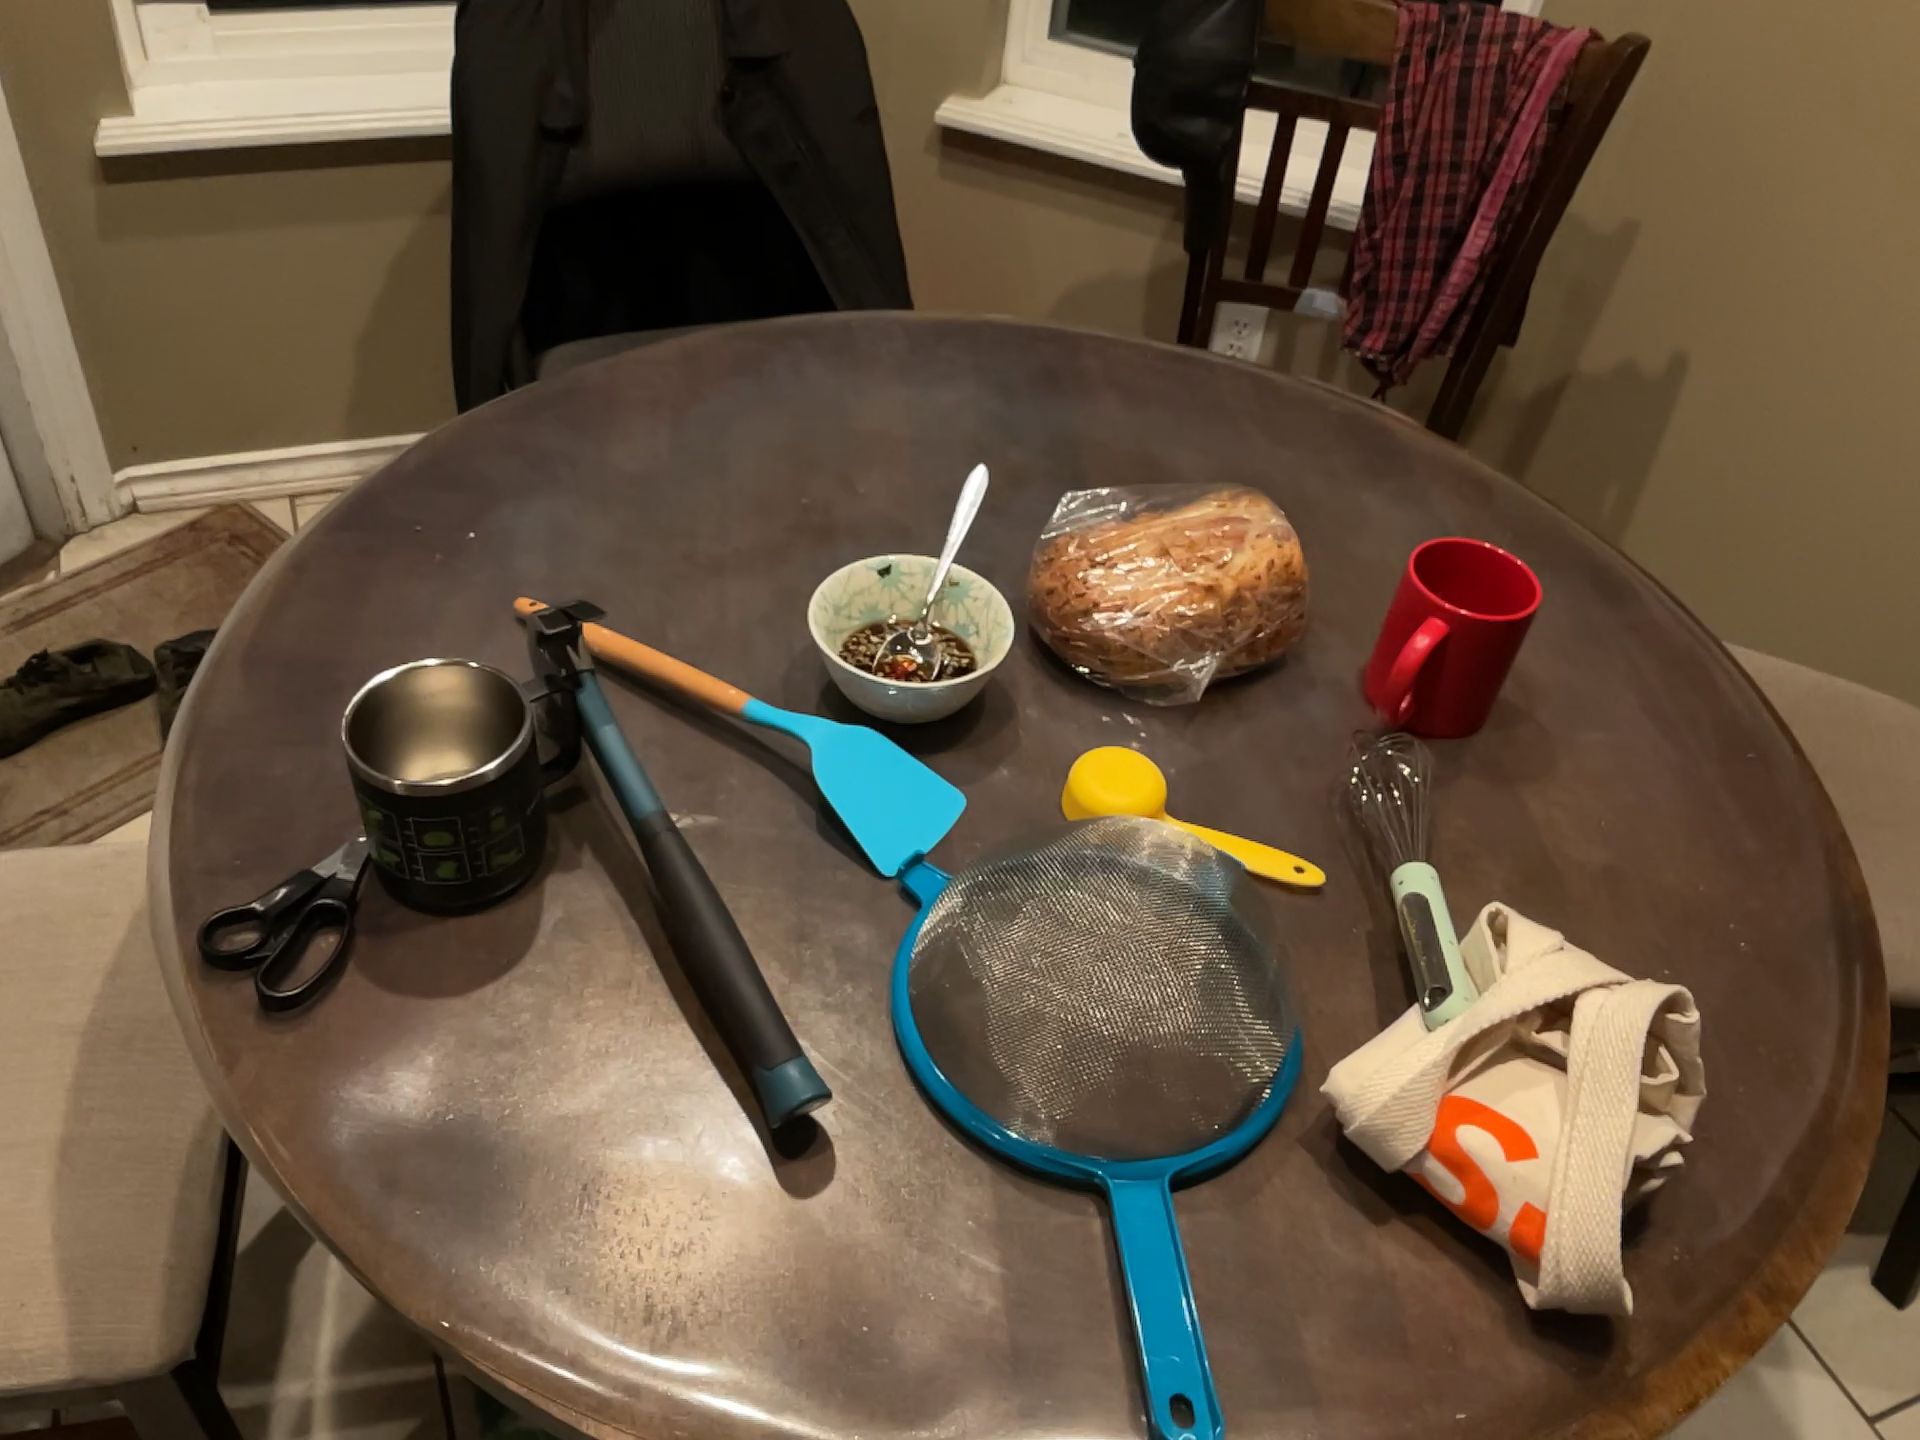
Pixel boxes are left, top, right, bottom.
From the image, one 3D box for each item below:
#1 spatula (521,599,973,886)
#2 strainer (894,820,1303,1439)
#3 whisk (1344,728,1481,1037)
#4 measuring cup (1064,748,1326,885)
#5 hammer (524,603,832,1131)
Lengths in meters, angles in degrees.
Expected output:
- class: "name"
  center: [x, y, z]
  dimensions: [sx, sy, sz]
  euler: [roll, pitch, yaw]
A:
- class: "spatula"
  center: [-0.142, -0.003, 0.950]
  dimensions: [0.317, 0.044, 0.082]
  euler: [25, 46, 24]
- class: "strainer"
  center: [0.081, 0.157, 0.750]
  dimensions: [0.211, 0.095, 0.341]
  euler: [0, 39, -7]
- class: "whisk"
  center: [0.246, 0.081, 0.869]
  dimensions: [0.059, 0.057, 0.246]
  euler: [33, 29, -17]
- class: "measuring cup"
  center: [0.135, 0.057, 0.914]
  dimensions: [0.156, 0.029, 0.062]
  euler: [19, 44, 15]
- class: "hammer"
  center: [-0.153, 0.068, 0.822]
  dimensions: [0.033, 0.128, 0.331]
  euler: [-20, 58, -24]
